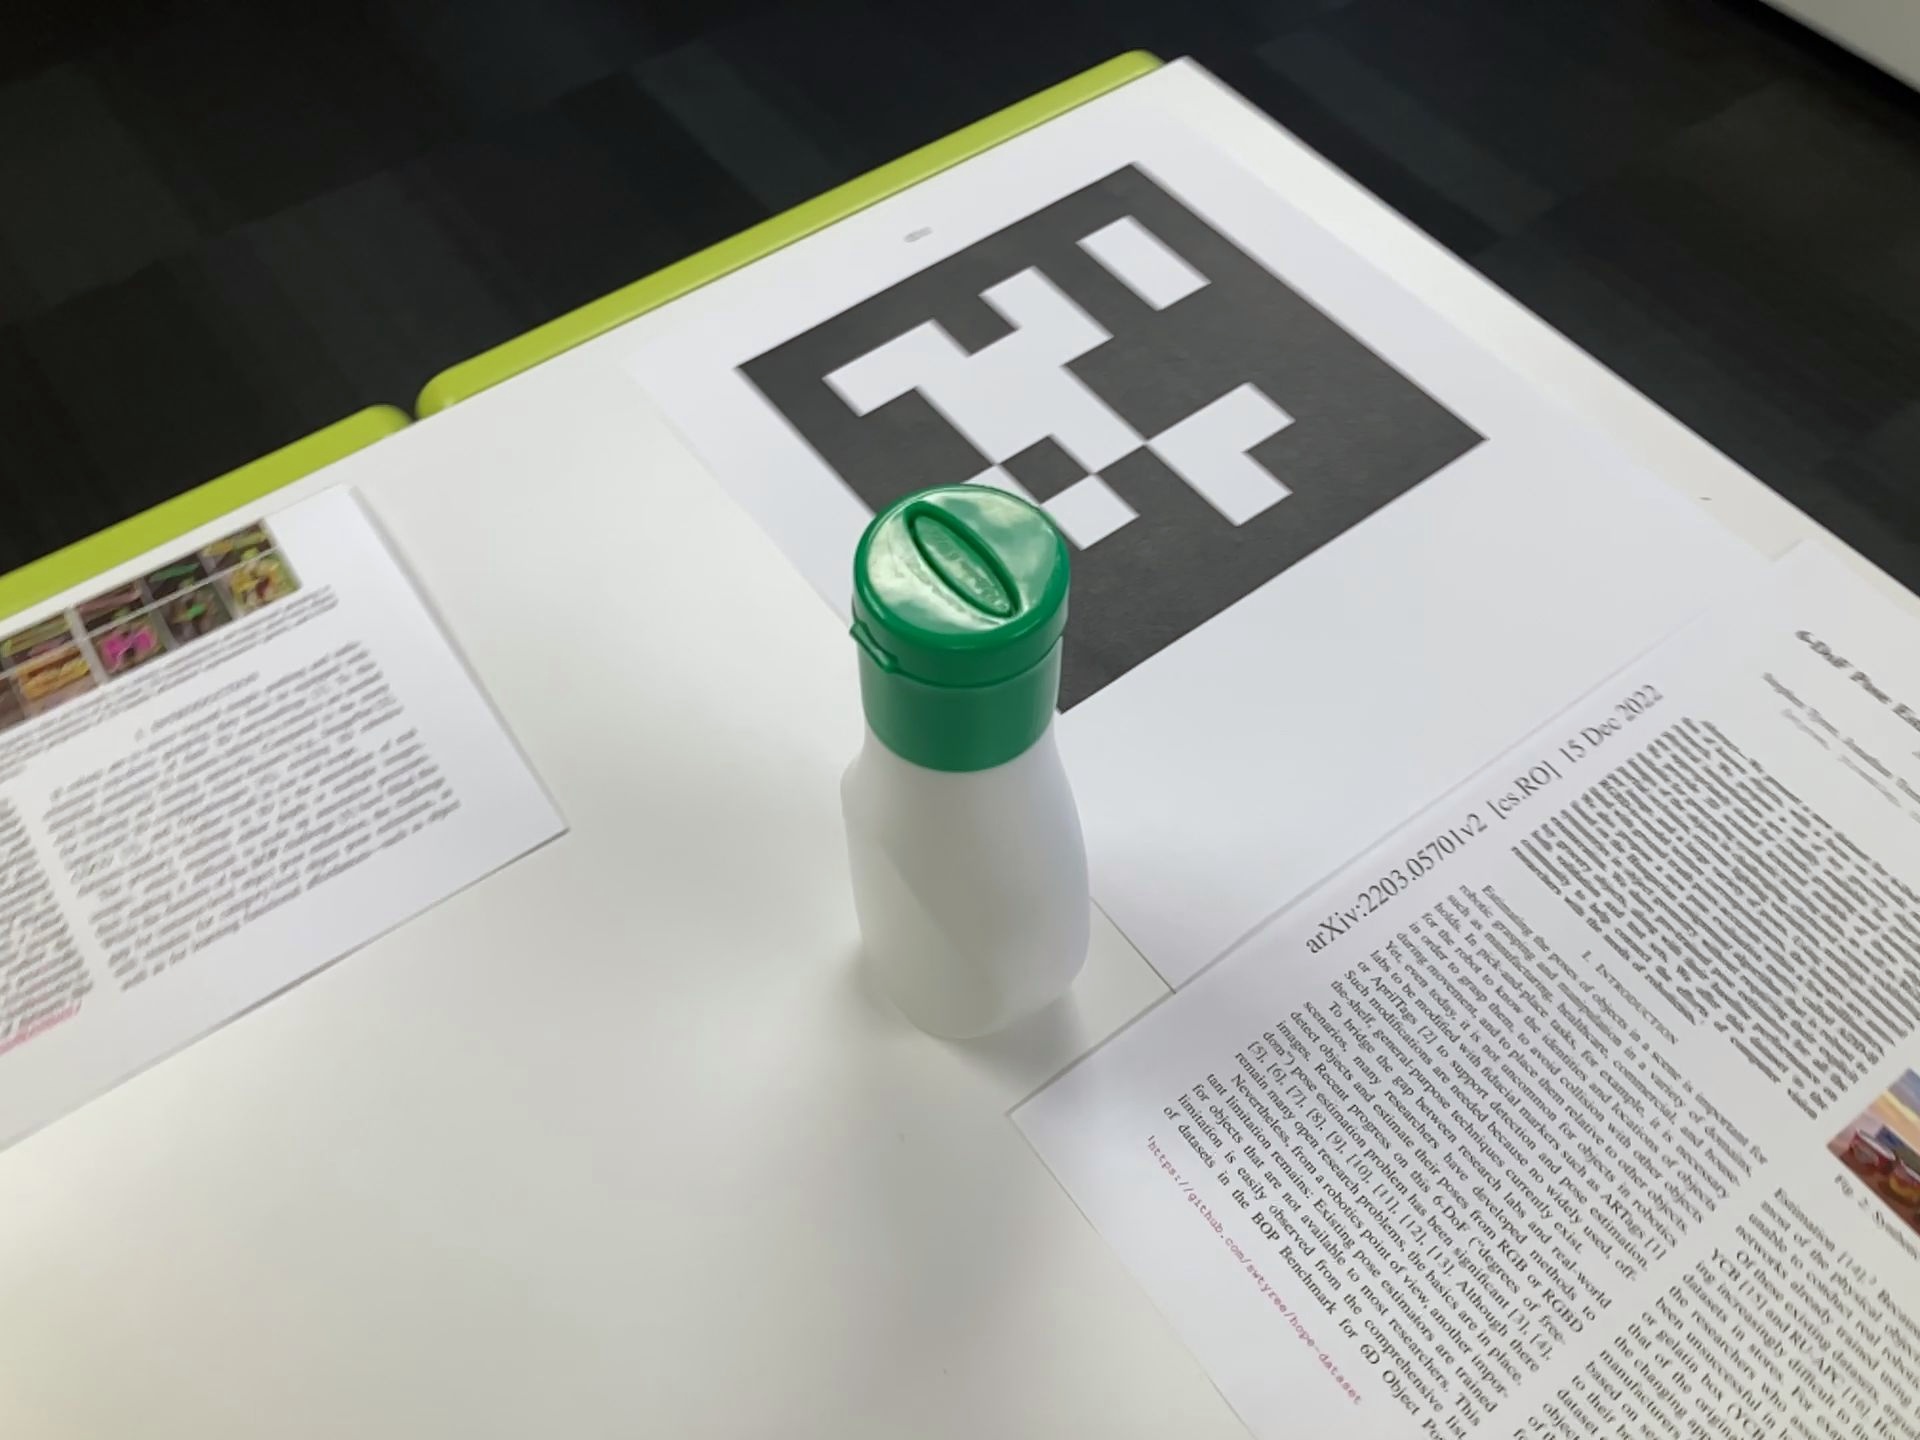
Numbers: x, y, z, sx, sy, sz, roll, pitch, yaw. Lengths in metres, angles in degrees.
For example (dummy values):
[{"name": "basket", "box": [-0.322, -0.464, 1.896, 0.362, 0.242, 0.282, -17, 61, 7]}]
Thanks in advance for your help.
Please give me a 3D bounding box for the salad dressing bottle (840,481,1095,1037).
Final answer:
[{"name": "salad dressing bottle", "box": [0.001, 0.015, 0.318, 0.044, 0.147, 0.064, -31, 62, -18]}]
